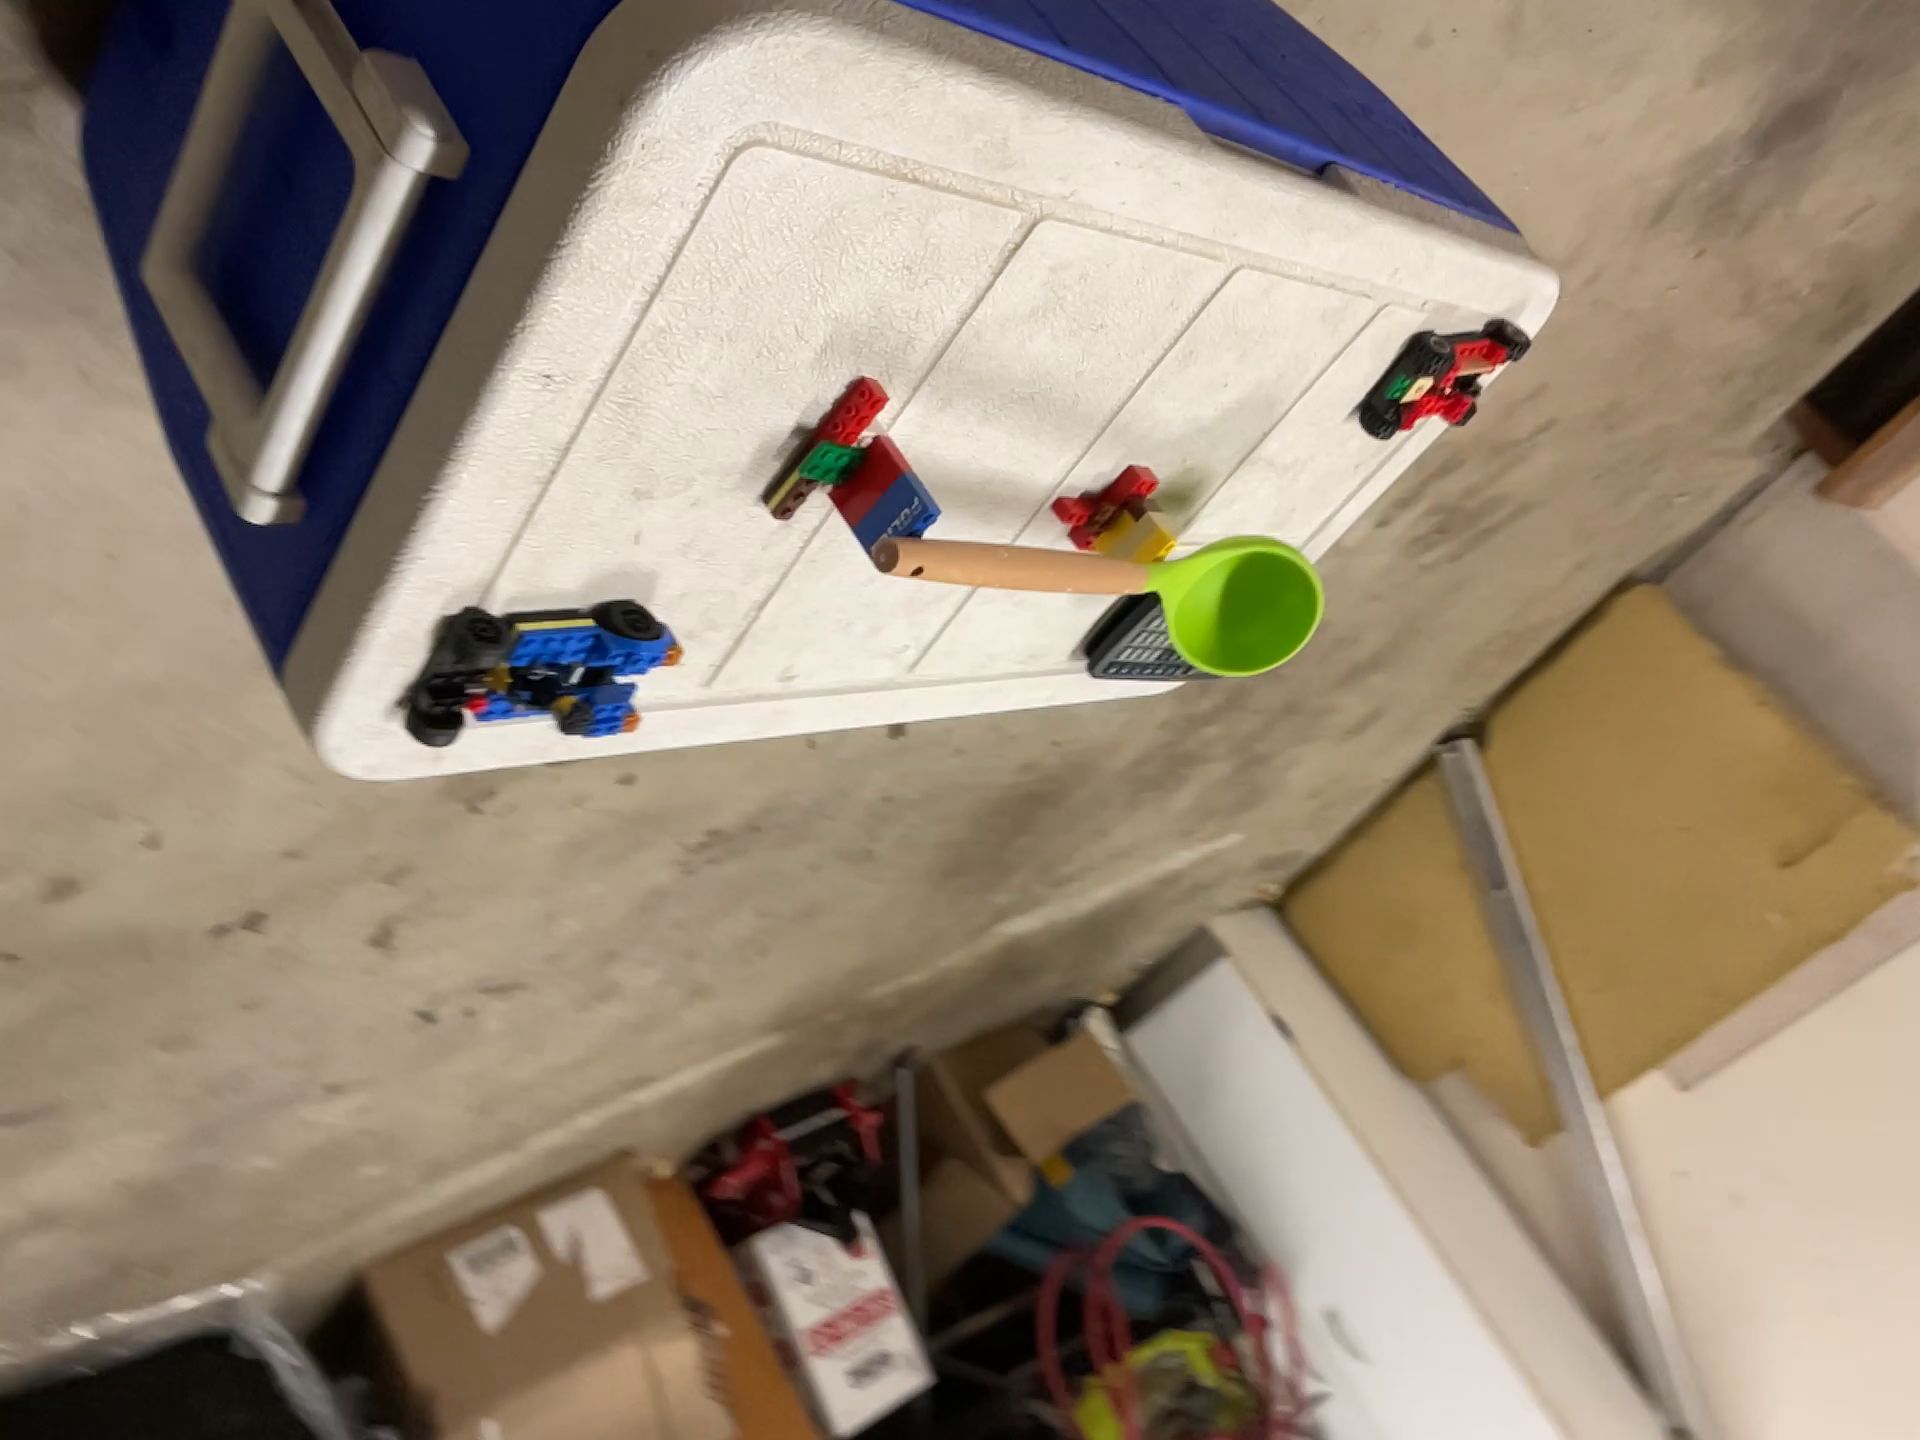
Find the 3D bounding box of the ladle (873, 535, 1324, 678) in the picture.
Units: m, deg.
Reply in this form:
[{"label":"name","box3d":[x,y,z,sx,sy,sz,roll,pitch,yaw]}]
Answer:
[{"label":"ladle","box3d":[0.071,-0.055,0.697,0.078,0.062,0.320,-45,157,27]}]
